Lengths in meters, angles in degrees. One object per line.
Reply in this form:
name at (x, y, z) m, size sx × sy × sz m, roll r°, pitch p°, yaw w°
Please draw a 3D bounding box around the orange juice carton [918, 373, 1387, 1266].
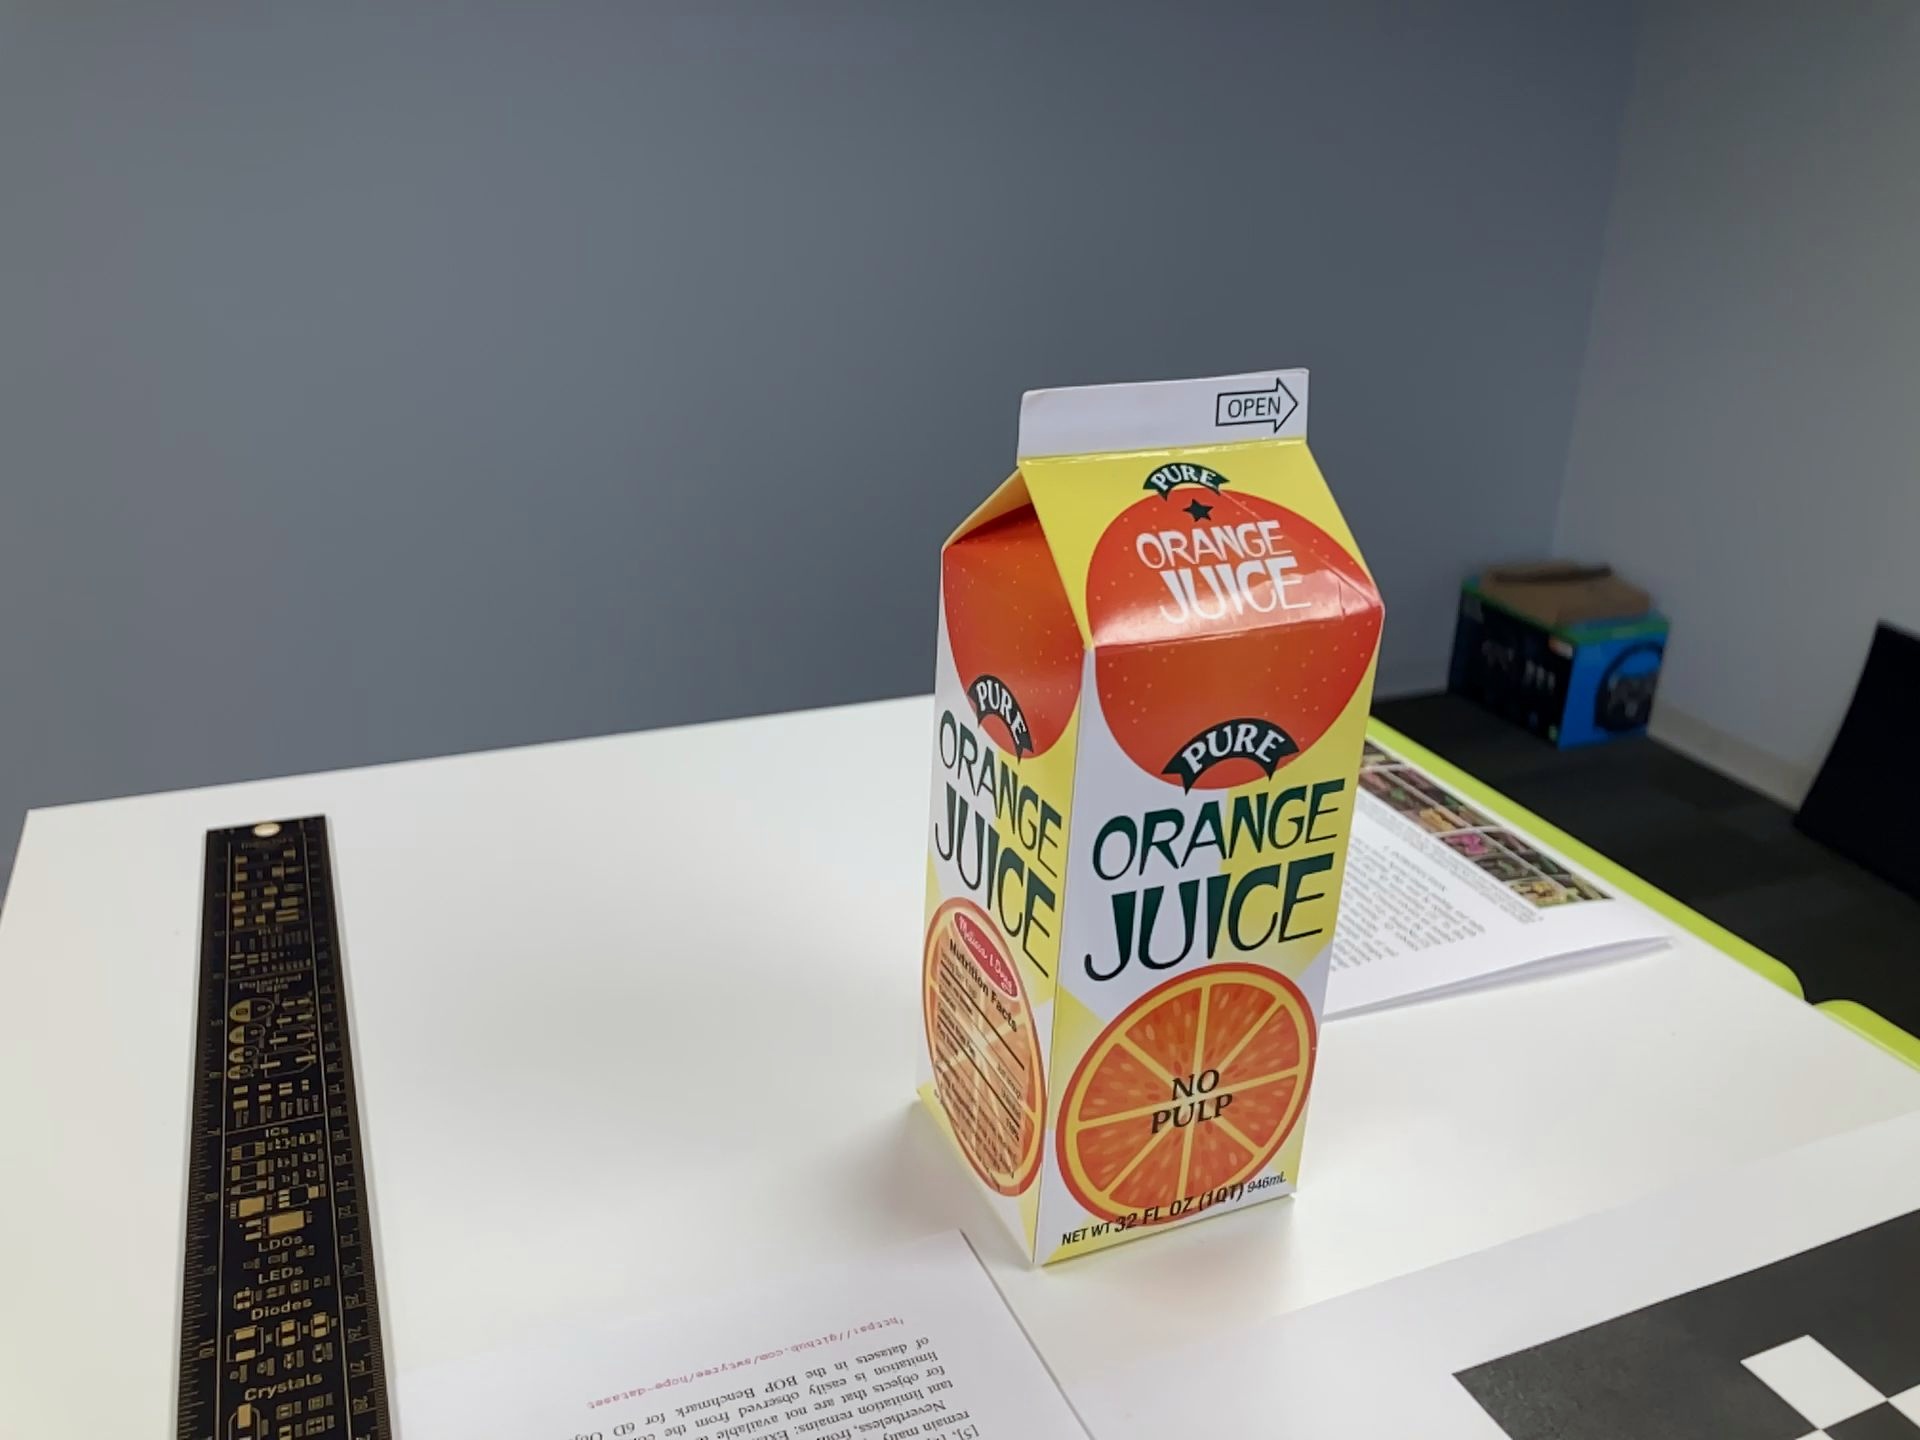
orange juice carton at (0.039, 0.019, 0.362) m, size 0.072 × 0.192 × 0.073 m, roll -7°, pitch 25°, yaw -24°
